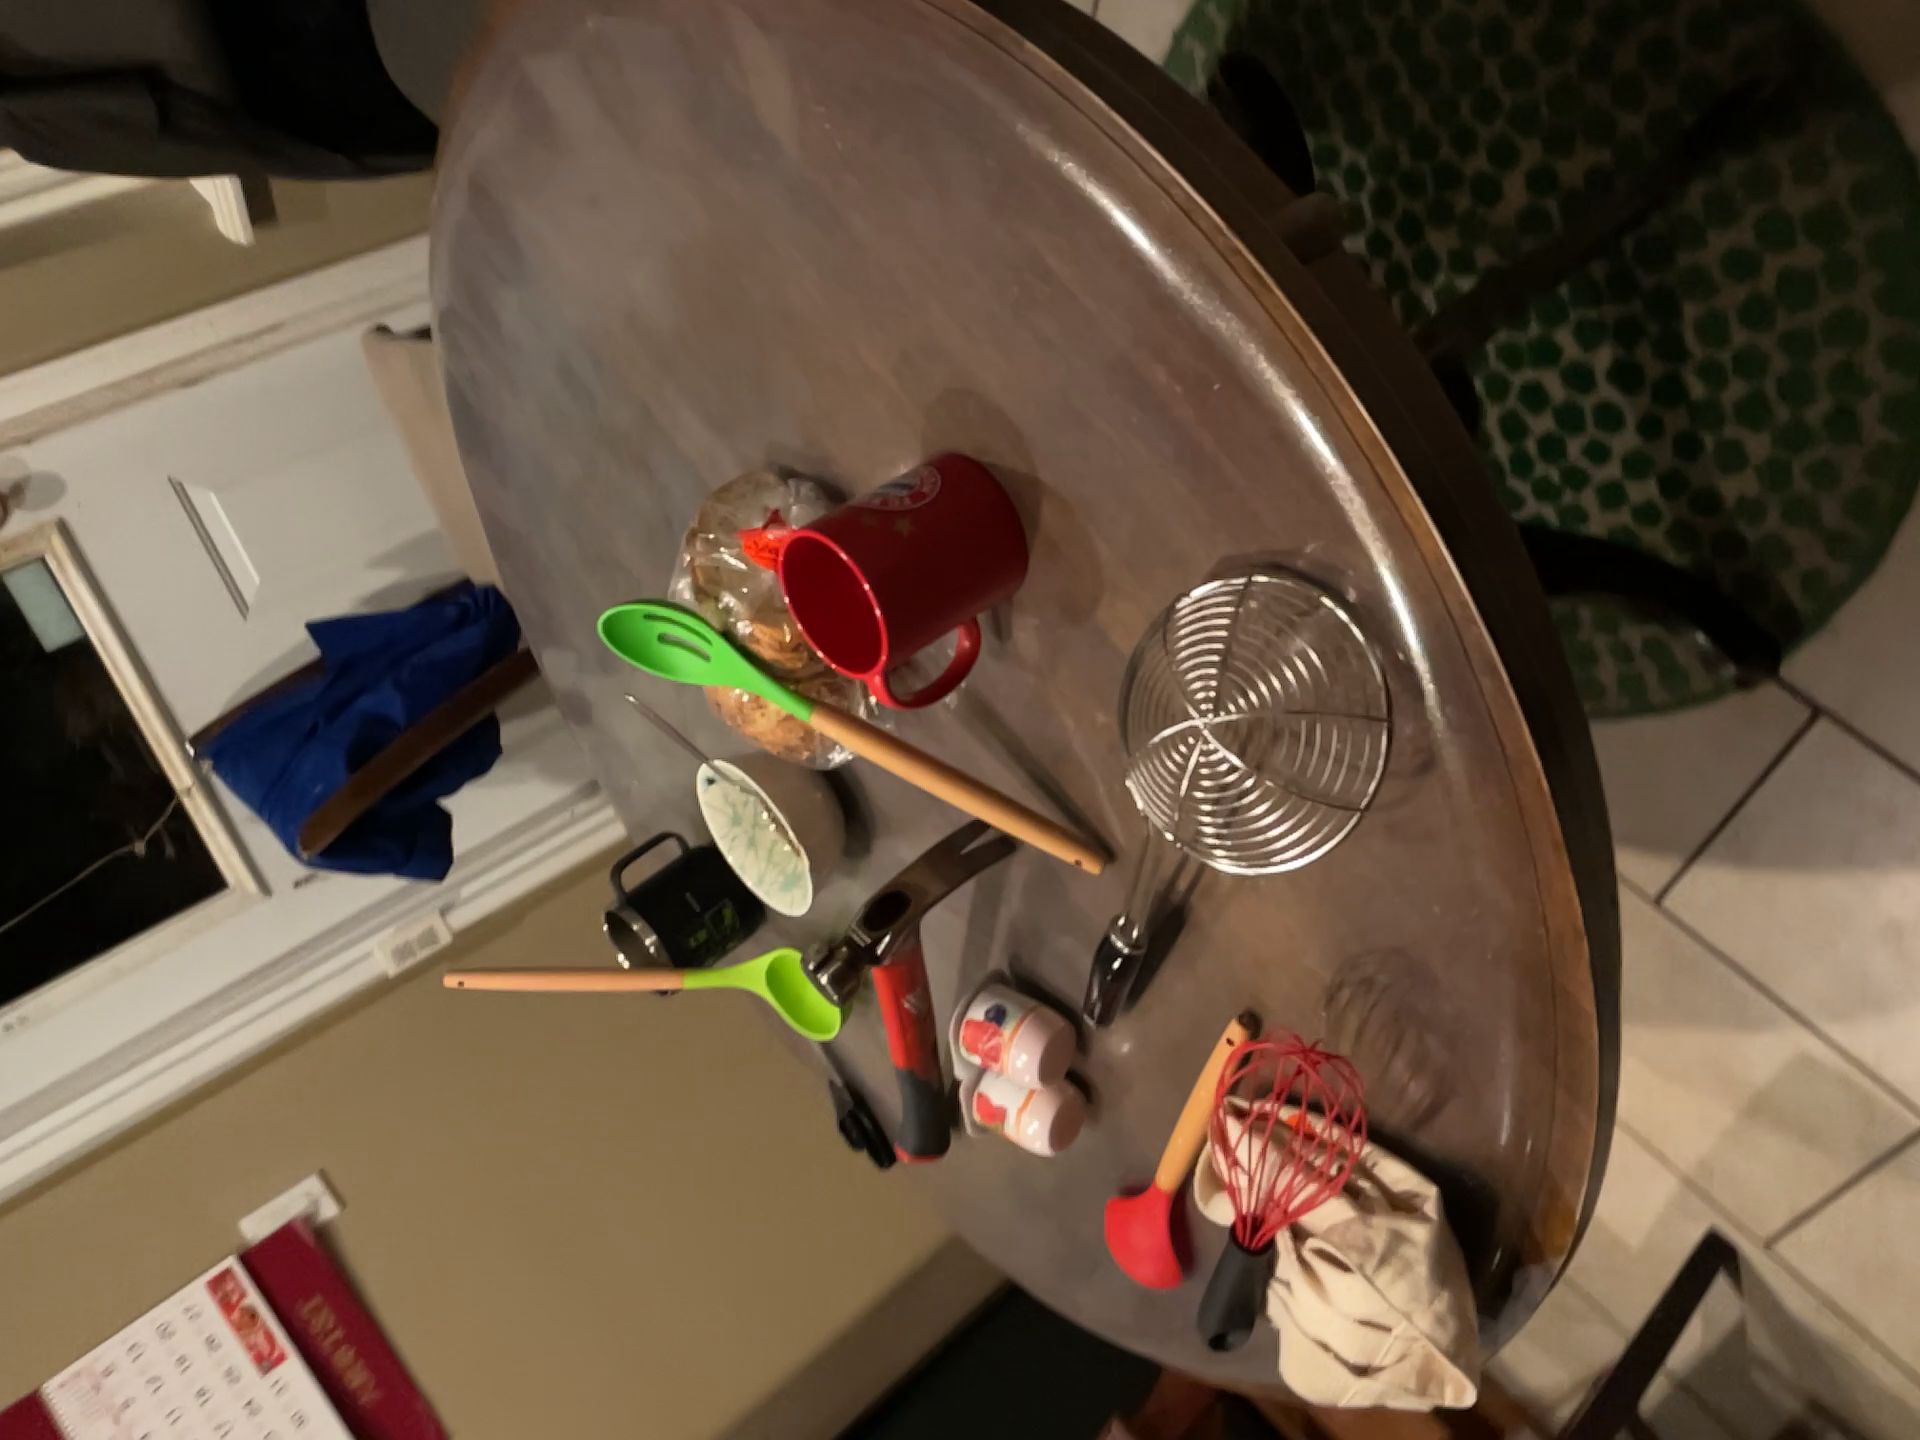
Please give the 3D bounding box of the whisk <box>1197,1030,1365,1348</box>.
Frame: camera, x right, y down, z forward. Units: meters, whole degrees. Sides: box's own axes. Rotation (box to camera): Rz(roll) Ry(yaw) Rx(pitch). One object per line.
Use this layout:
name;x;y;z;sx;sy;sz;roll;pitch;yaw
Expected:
whisk;0.153;0.252;0.812;0.073;0.073;0.295;36;144;30

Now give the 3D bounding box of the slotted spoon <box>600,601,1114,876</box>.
slotted spoon;-0.057;0.010;0.882;0.314;0.031;0.070;27;149;6

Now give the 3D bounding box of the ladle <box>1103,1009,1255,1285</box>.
ladle;0.132;0.263;0.950;0.069;0.031;0.315;40;144;25

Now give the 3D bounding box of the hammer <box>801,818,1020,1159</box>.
hammer;-0.019;0.204;1.064;0.038;0.143;0.386;42;158;26

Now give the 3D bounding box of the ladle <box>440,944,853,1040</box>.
ladle;-0.241;0.205;1.212;0.062;0.320;0.078;-88;-1;-63

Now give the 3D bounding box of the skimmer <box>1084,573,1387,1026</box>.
skimmer;0.115;0.068;0.789;0.127;0.090;0.363;52;161;23
